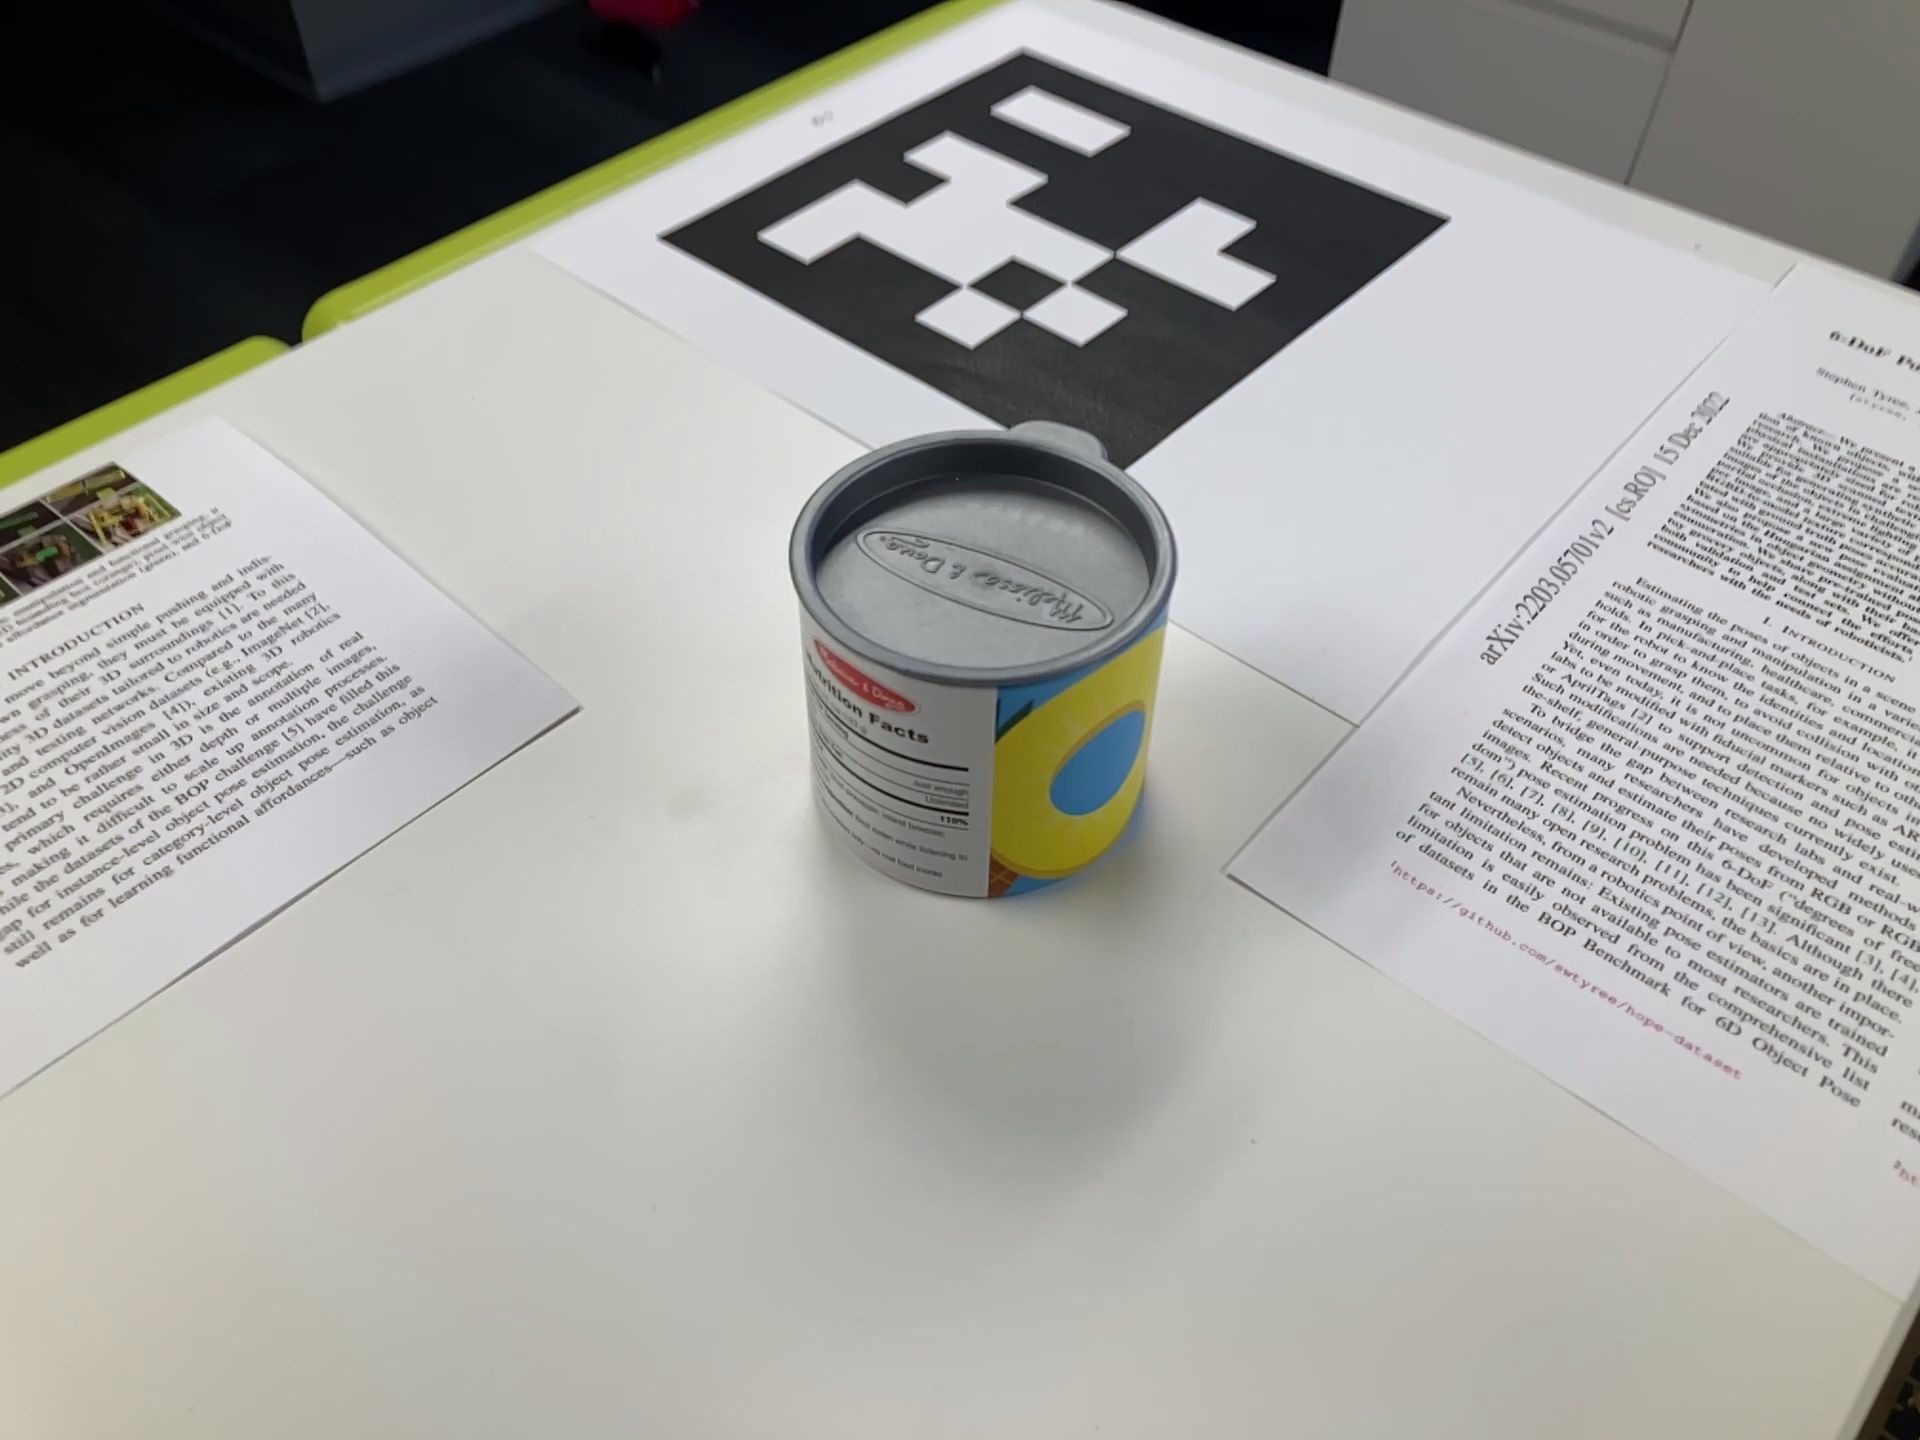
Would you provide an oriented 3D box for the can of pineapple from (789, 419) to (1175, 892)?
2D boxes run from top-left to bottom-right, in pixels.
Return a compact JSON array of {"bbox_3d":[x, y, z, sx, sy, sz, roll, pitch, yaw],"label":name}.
[{"bbox_3d":[0.005,-0.012,0.293,0.071,0.058,0.071,1,47,-1],"label":"can of pineapple"}]
